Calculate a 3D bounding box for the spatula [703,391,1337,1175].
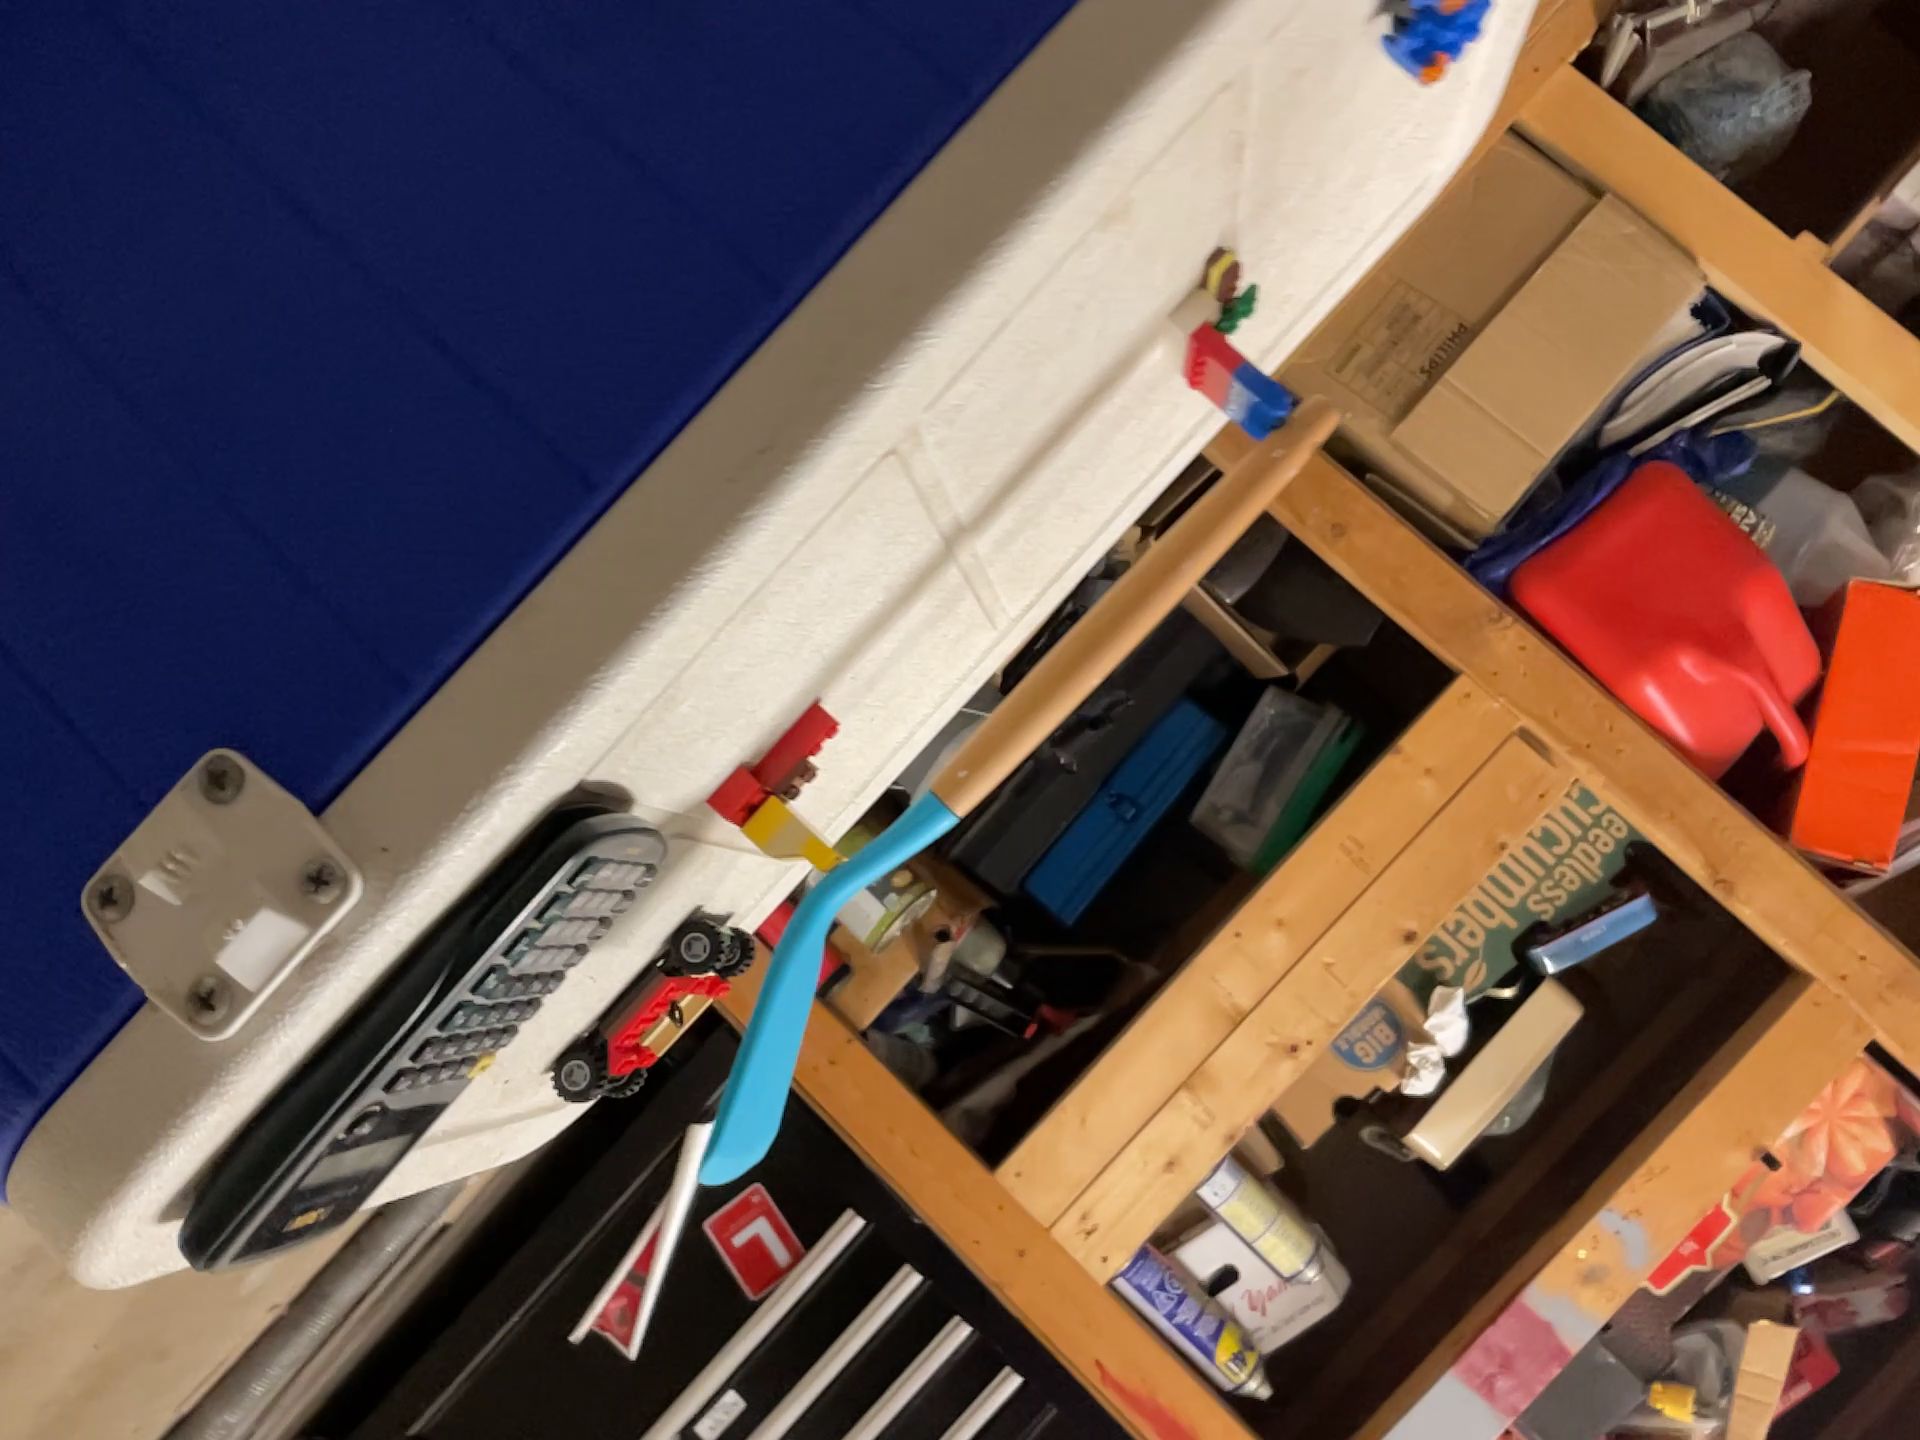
[{"bbox_3d":[0.021,0.015,0.523,0.317,0.044,0.082,-47,167,-3],"label":"spatula"}]
